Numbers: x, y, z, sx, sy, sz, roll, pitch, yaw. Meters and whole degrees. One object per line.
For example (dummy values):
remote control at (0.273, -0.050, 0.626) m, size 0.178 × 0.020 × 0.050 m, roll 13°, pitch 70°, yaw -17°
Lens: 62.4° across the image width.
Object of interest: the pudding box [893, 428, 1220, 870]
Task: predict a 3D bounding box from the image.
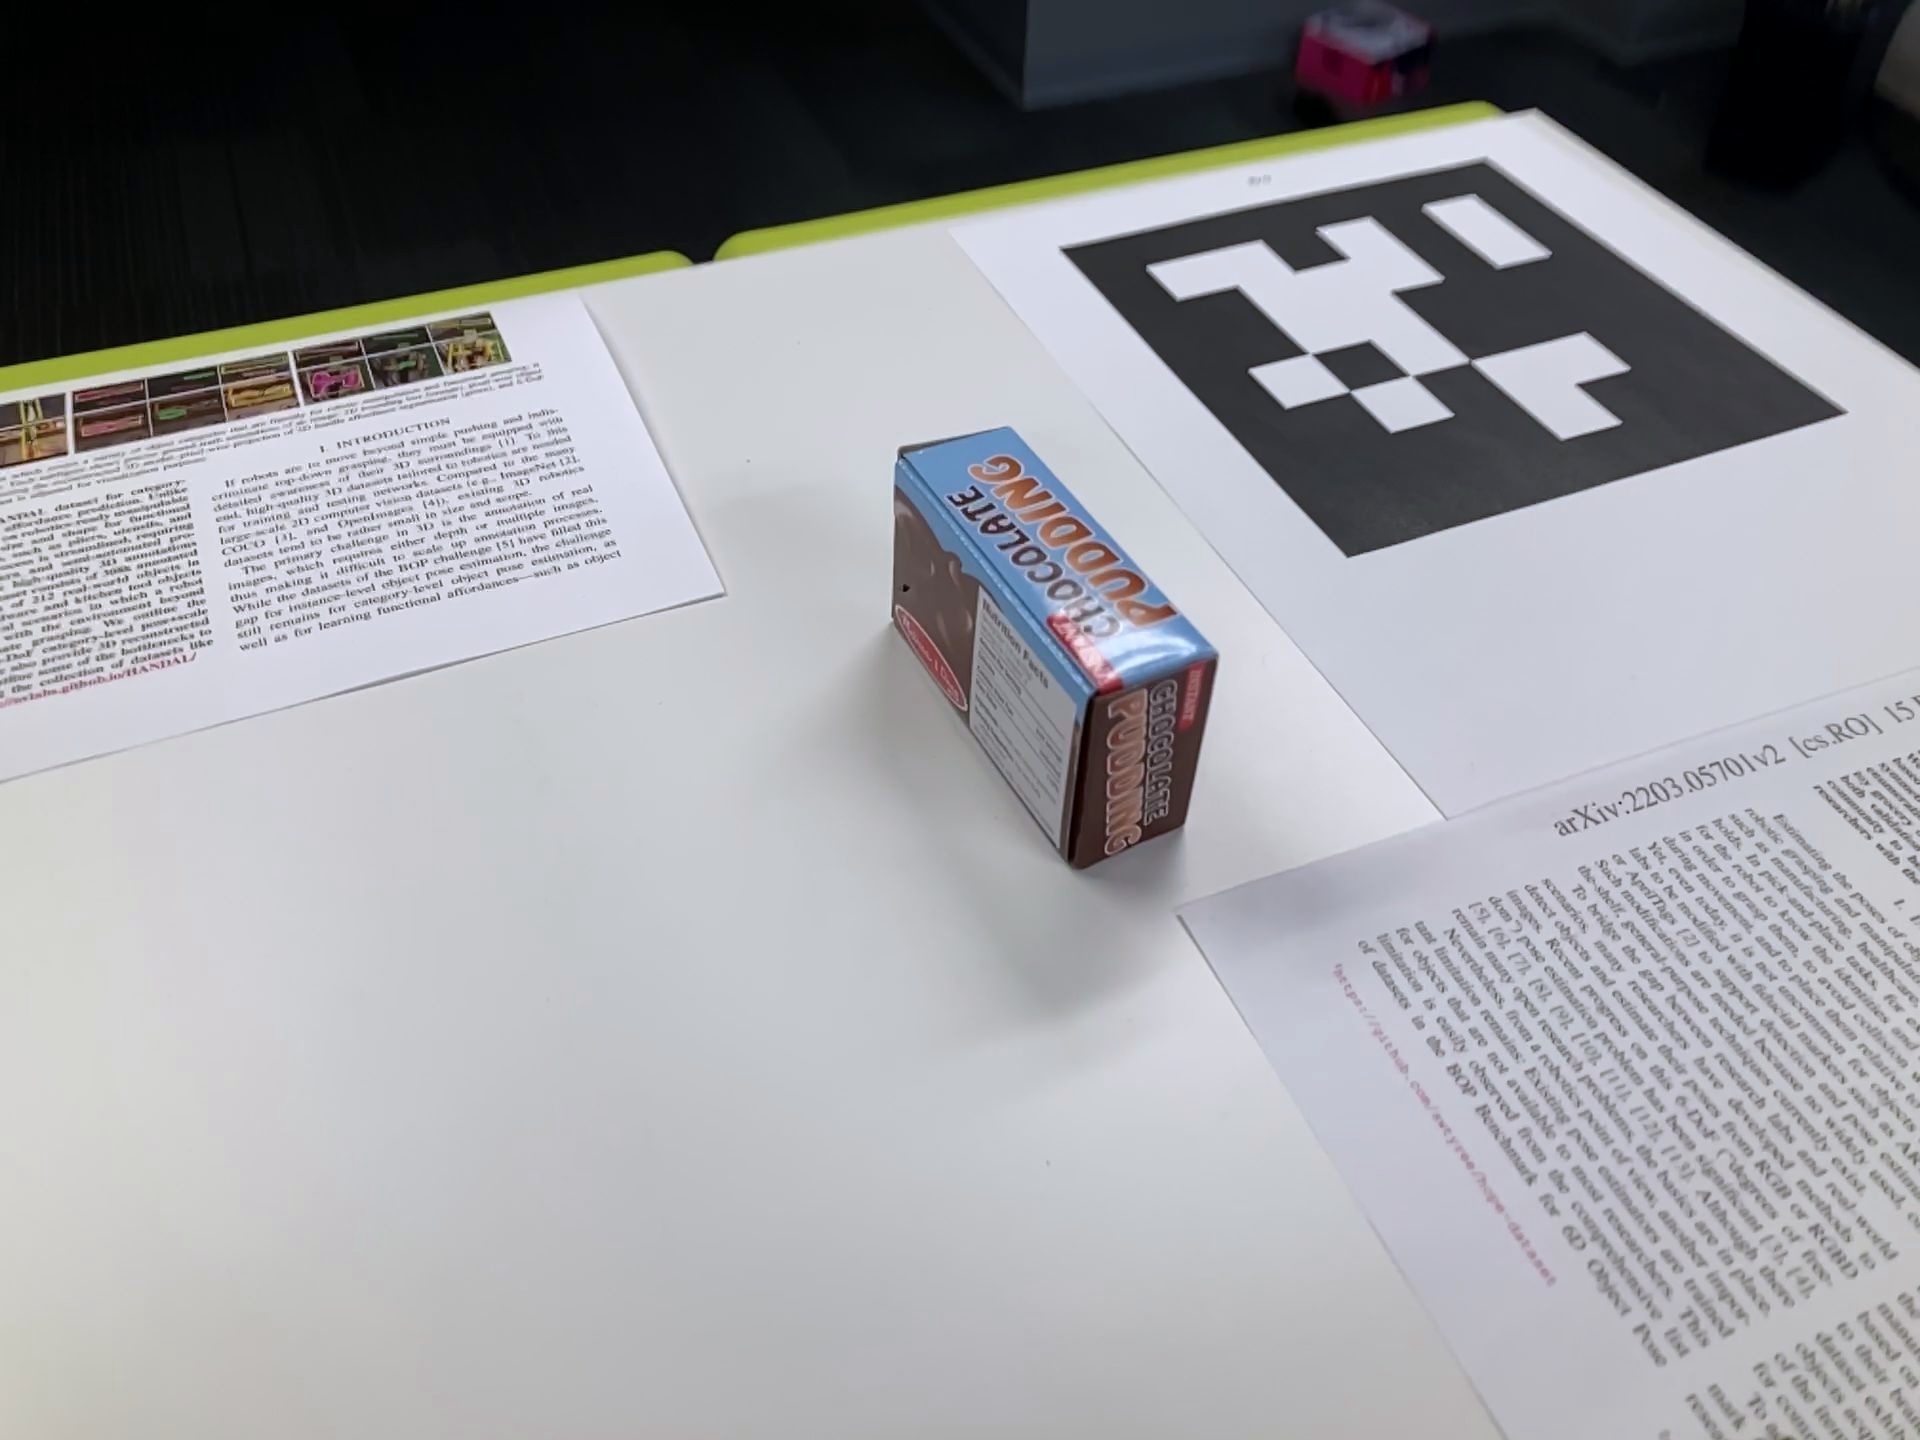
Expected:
pudding box at (0.016, -0.017, 0.326) m, size 0.030 × 0.049 × 0.083 m, roll -18°, pitch 48°, yaw -20°
